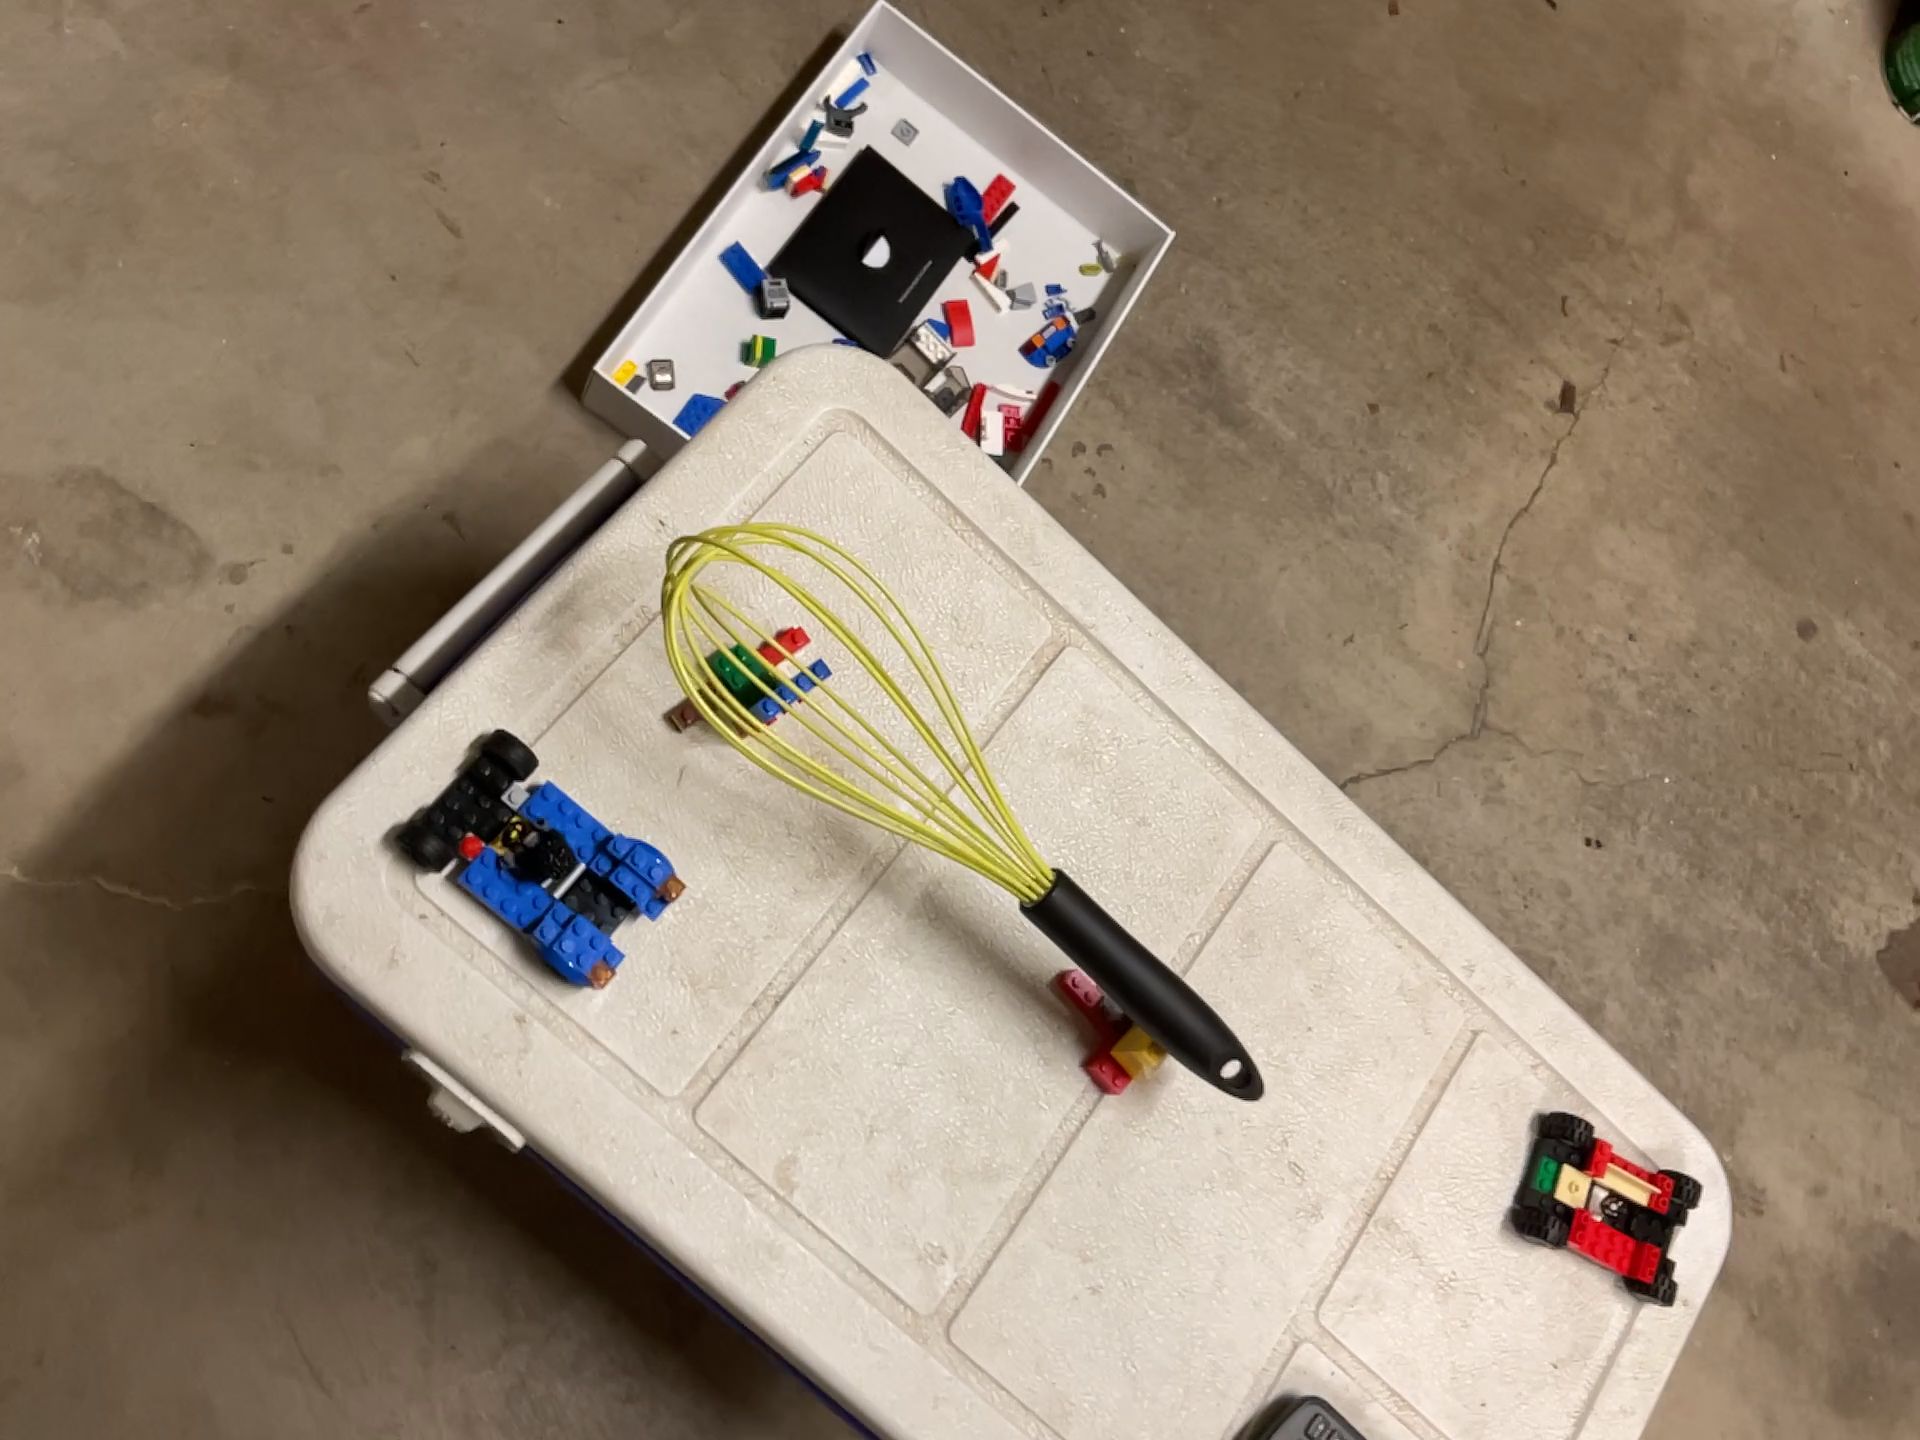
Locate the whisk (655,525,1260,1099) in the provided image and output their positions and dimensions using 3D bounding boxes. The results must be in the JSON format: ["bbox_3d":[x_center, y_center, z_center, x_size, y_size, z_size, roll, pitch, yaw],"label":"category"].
[{"bbox_3d":[0.009,0.042,0.587,0.080,0.067,0.311,-40,107,22],"label":"whisk"}]
